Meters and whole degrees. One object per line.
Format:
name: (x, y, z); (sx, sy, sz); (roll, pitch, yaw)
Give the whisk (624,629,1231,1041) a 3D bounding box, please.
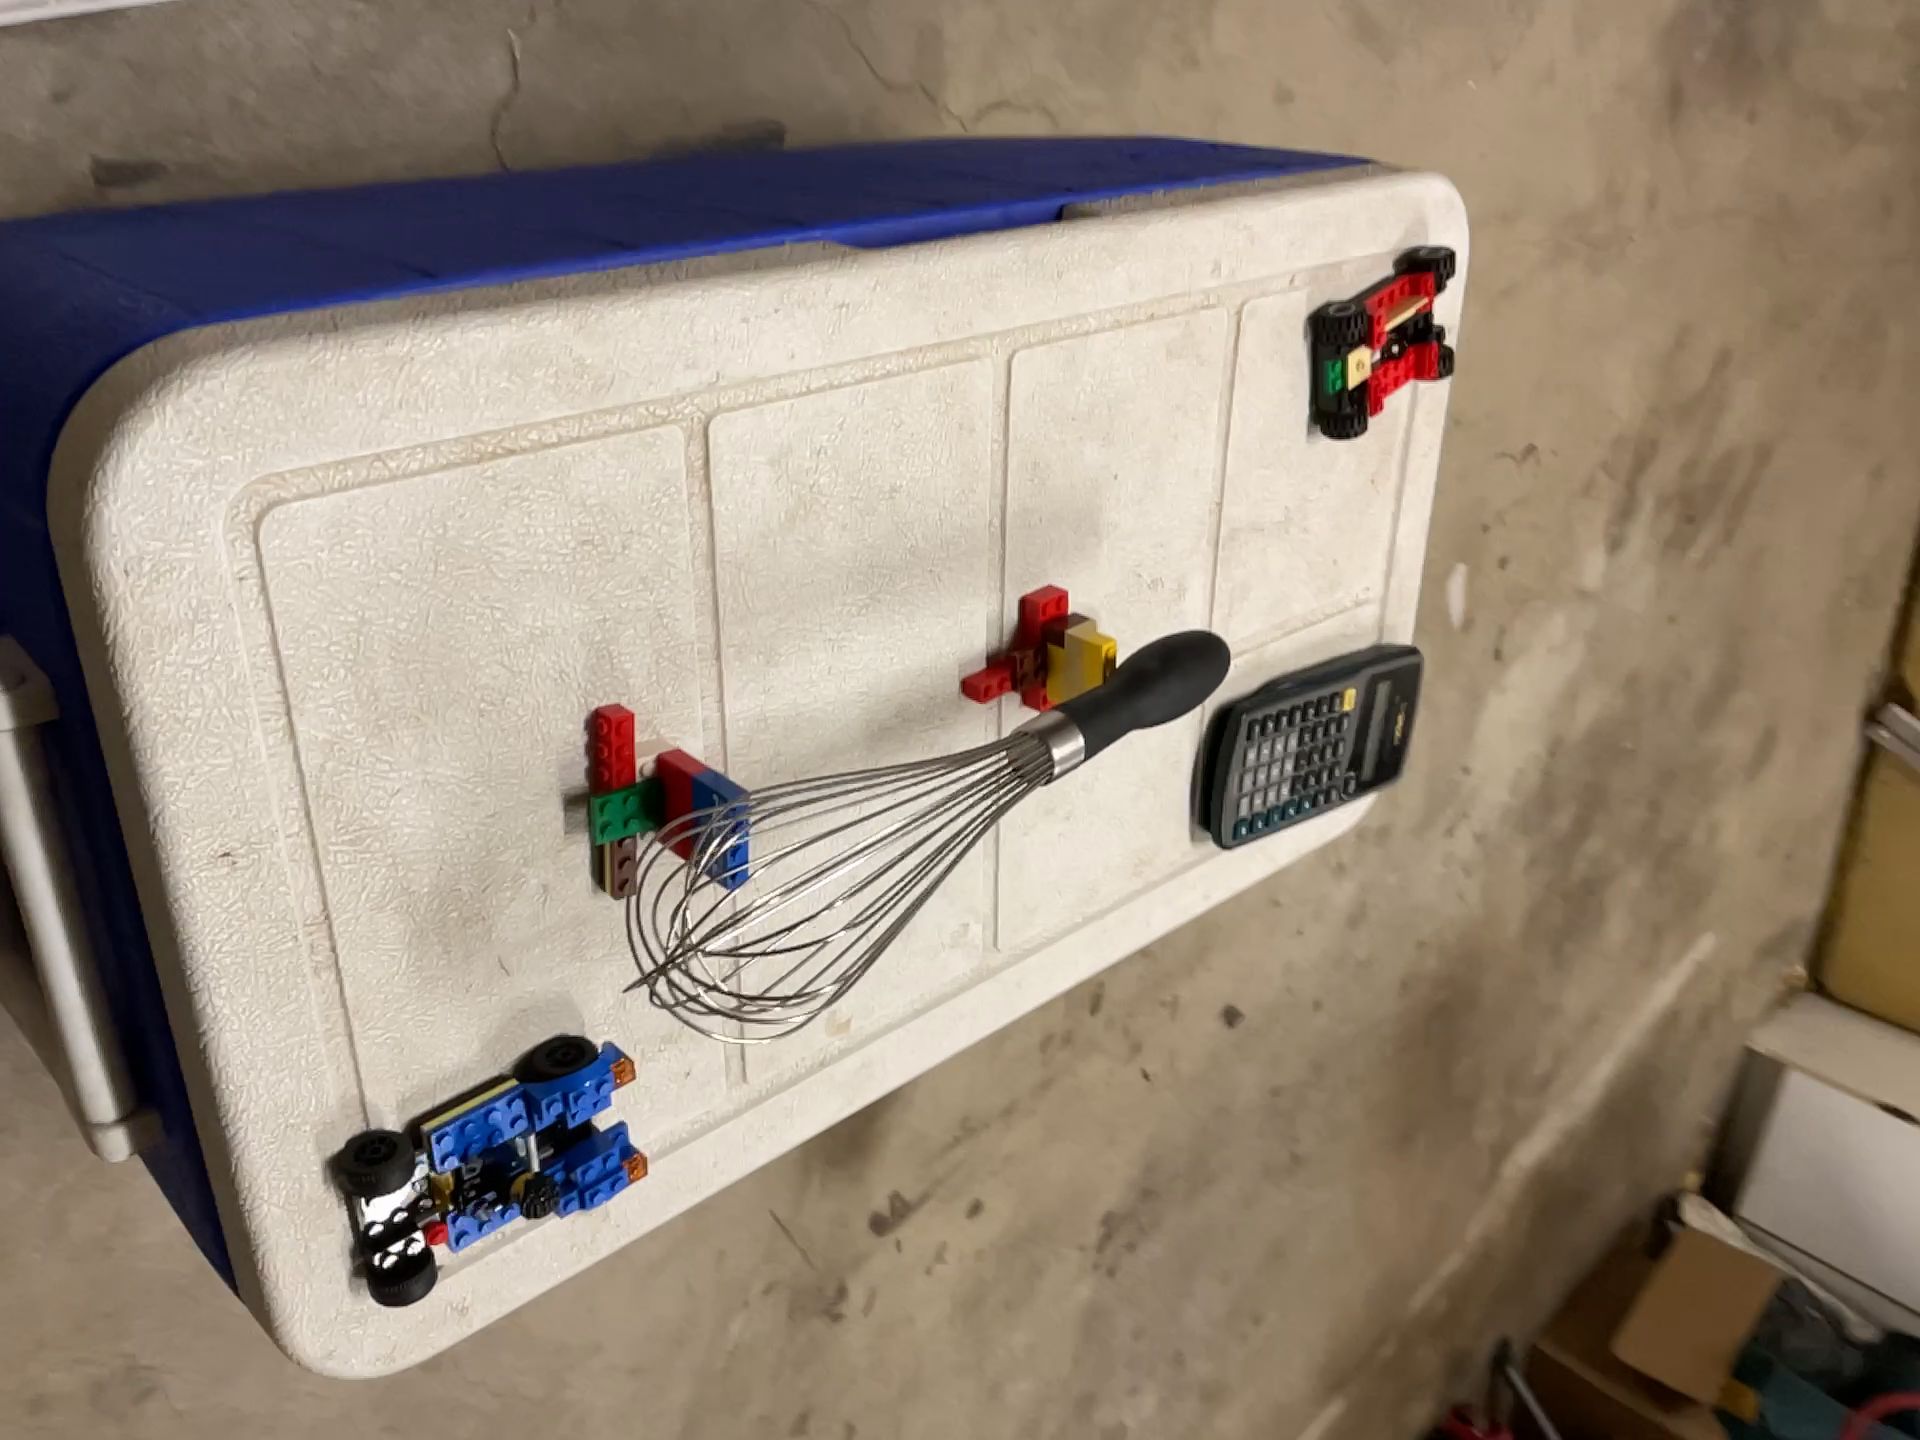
whisk: (0.008, 0.021, 0.519); (0.285, 0.070, 0.070); (-28, 123, -43)
